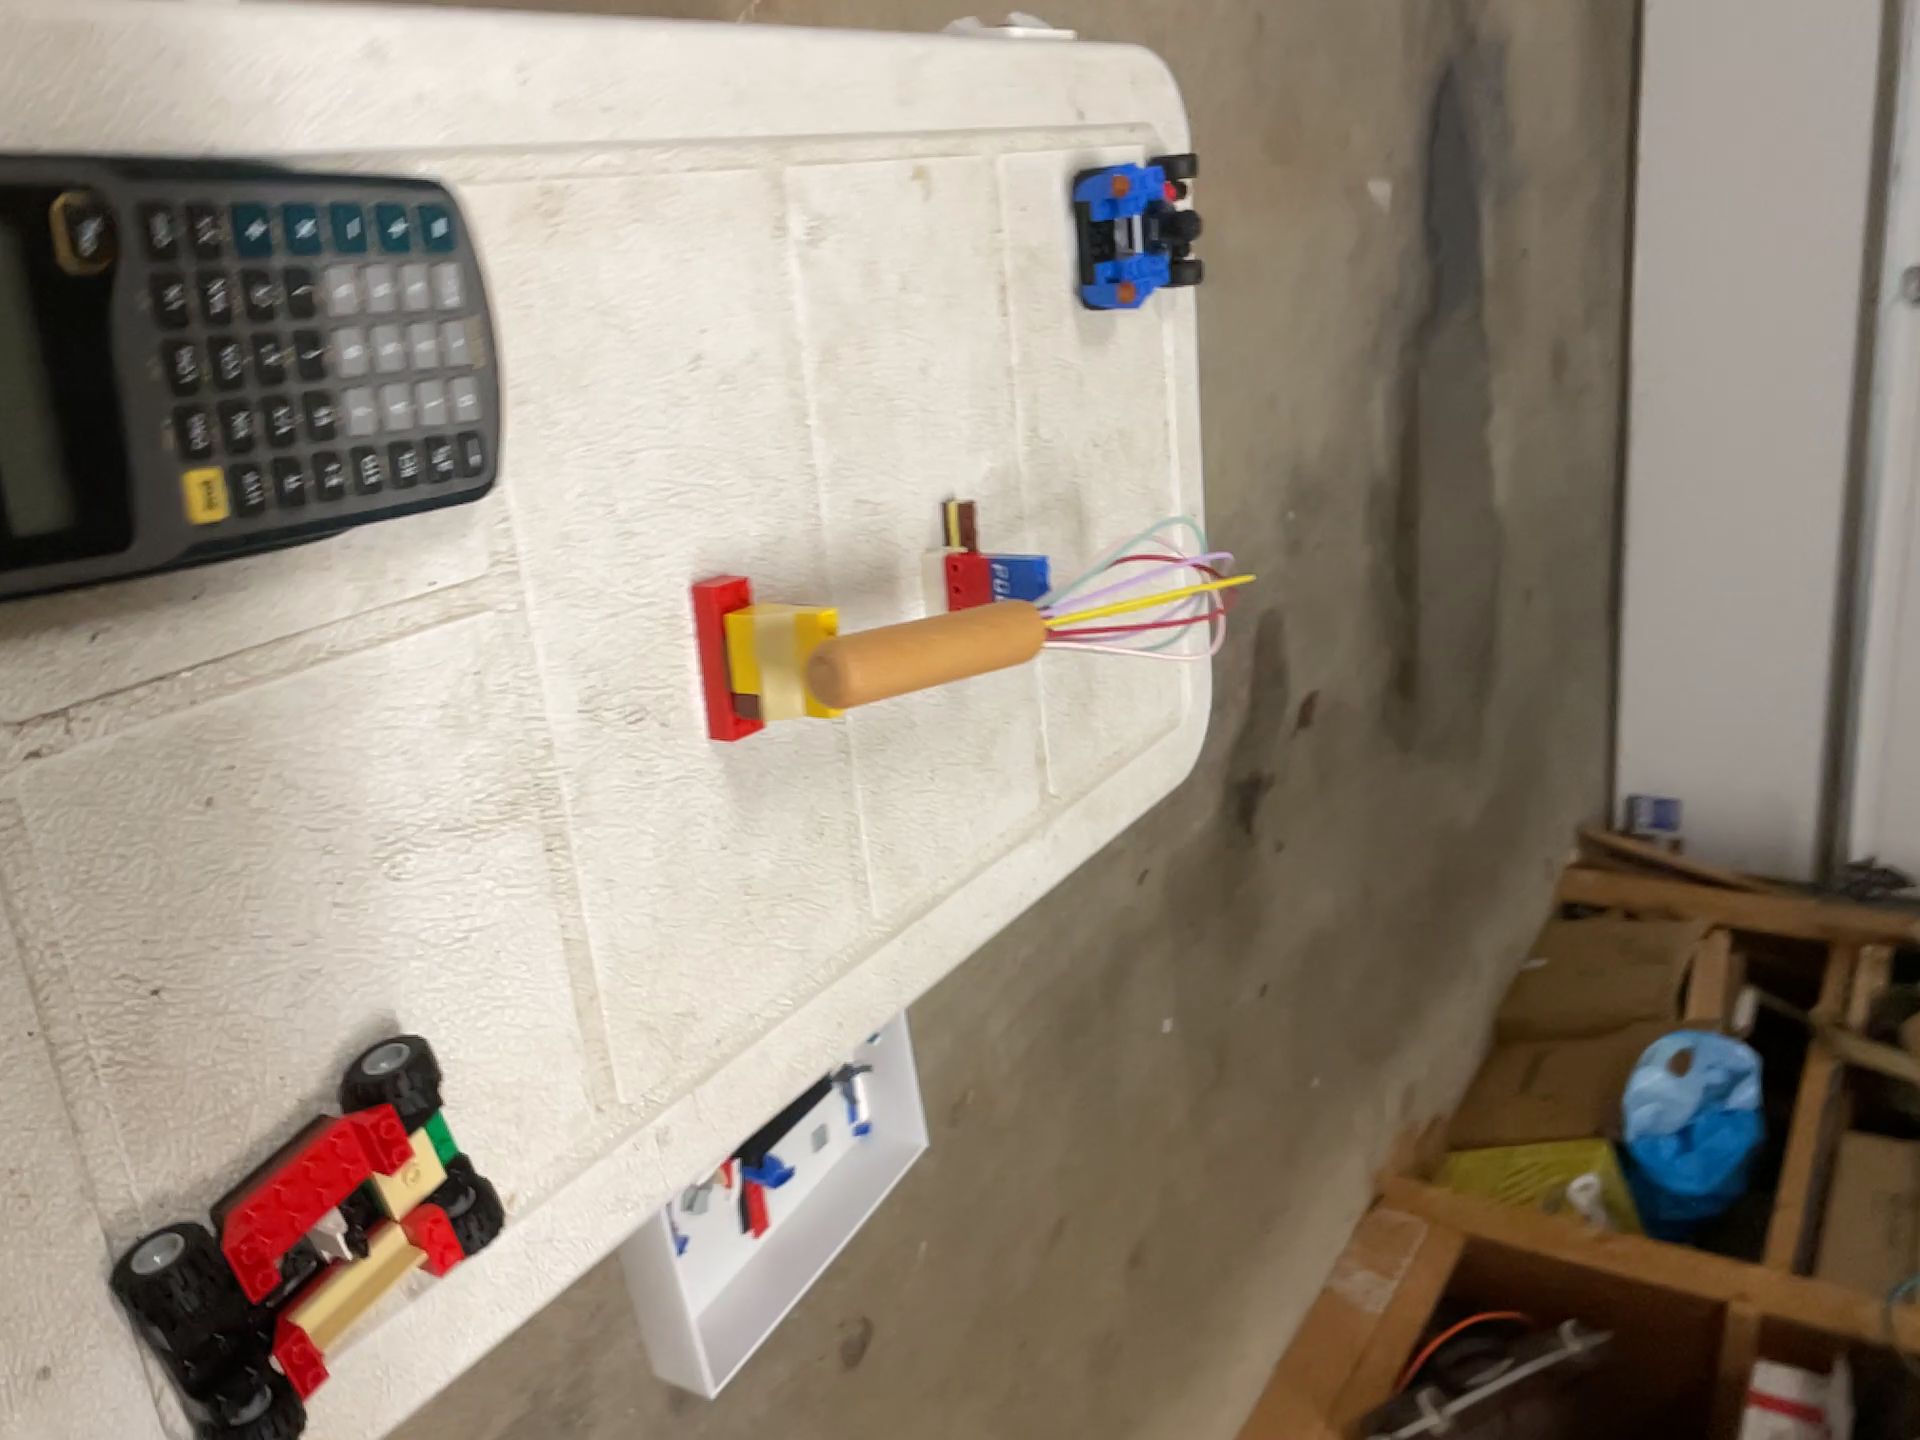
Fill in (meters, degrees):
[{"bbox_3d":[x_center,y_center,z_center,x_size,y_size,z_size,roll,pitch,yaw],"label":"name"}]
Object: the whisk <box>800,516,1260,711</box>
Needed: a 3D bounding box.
[{"bbox_3d":[0.035,-0.035,0.536,0.245,0.047,0.051,-16,121,-53],"label":"whisk"}]
